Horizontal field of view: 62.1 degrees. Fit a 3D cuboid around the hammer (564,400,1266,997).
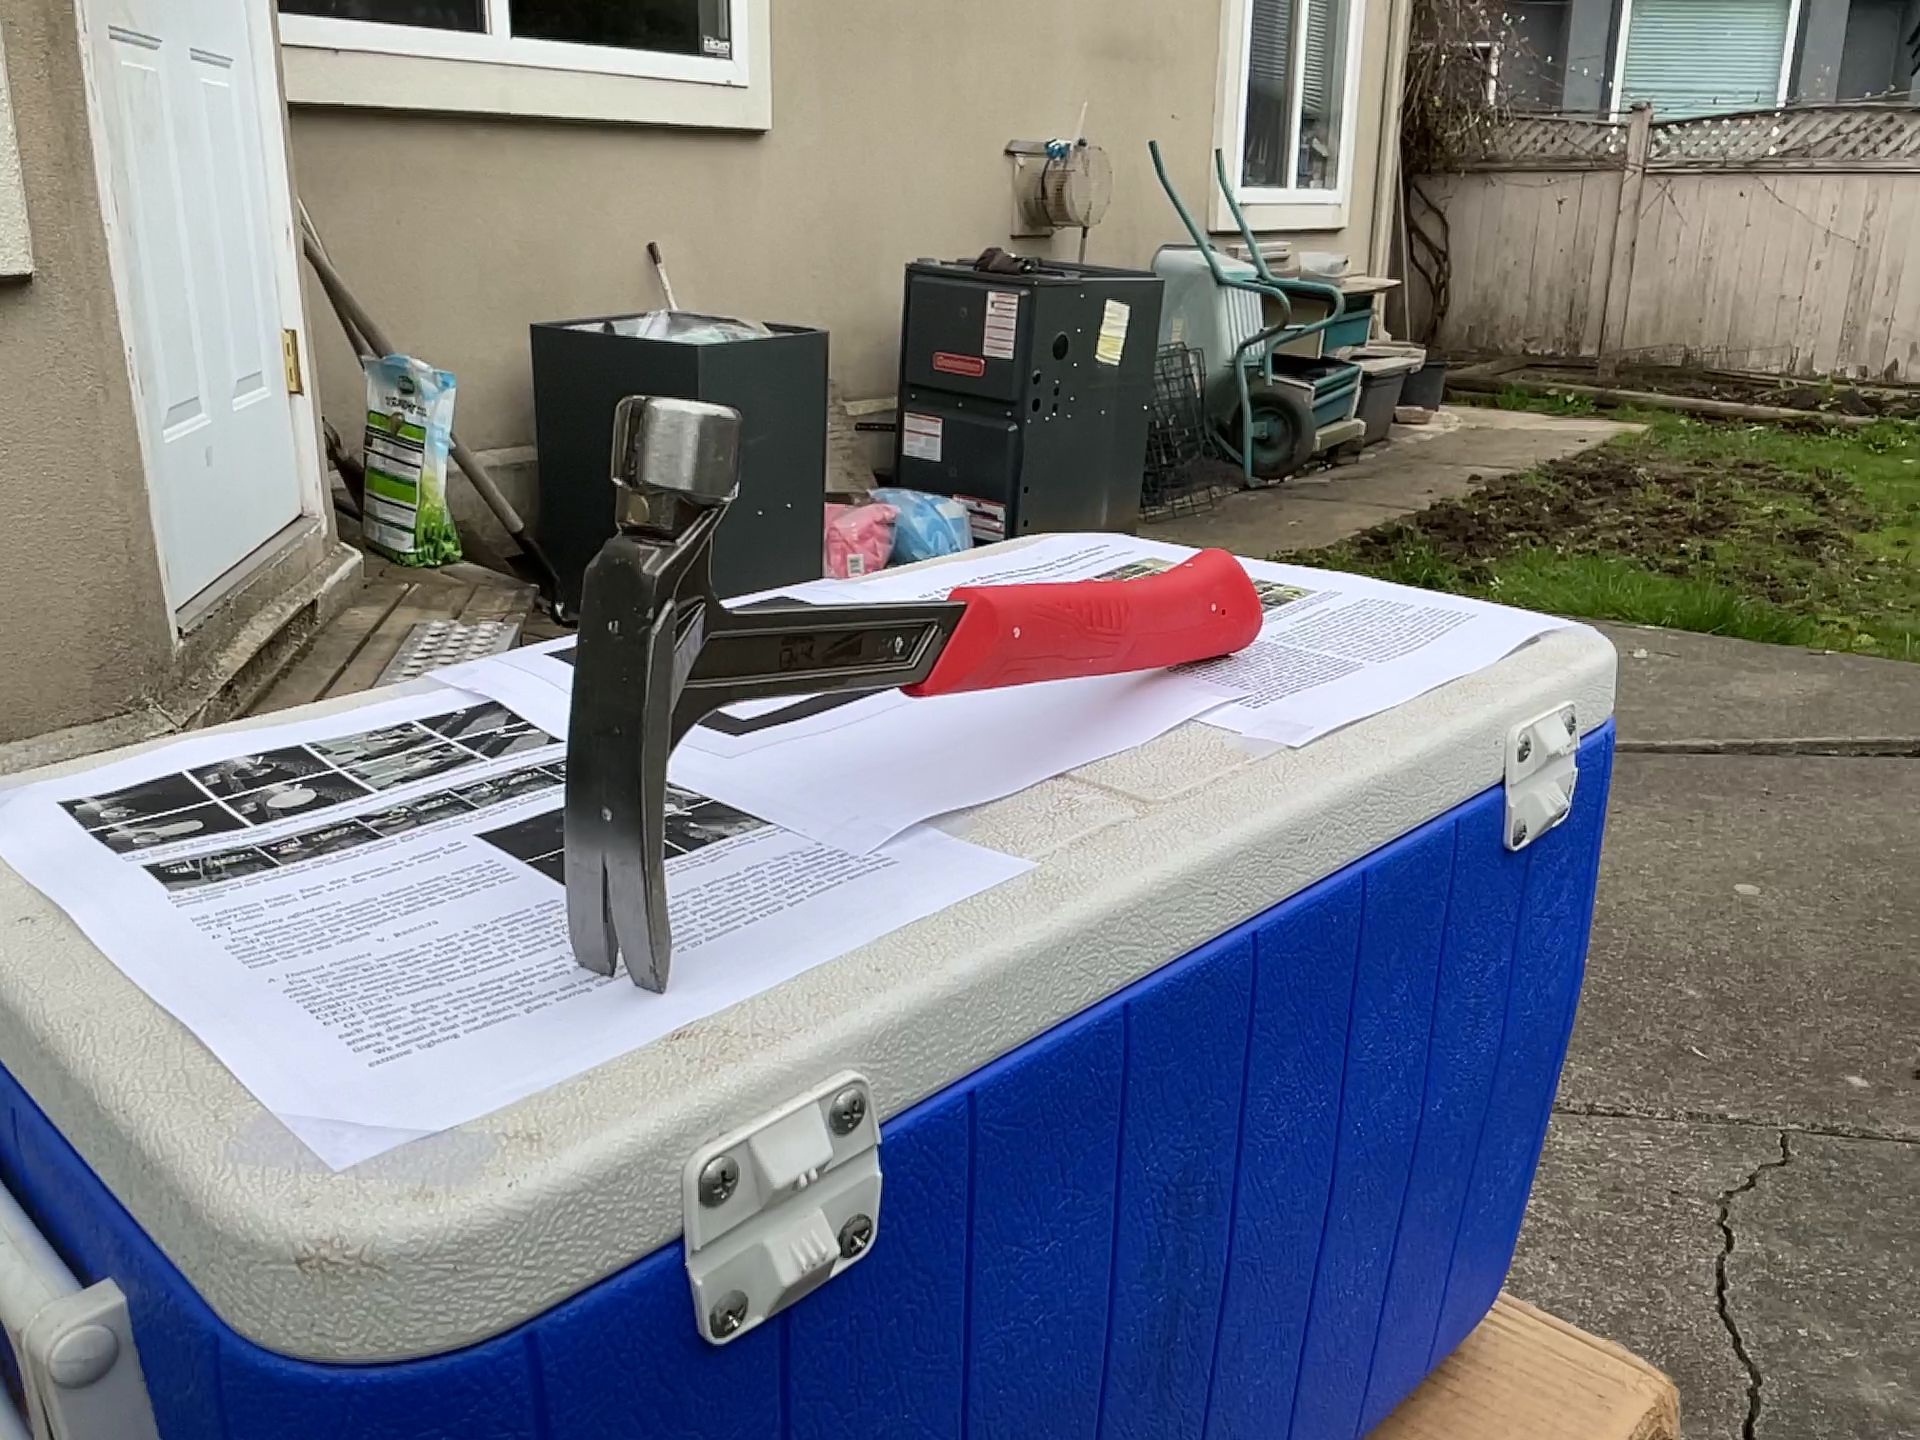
[{"bbox_3d":[0.013,-0.017,0.540,0.037,0.149,0.359,12,11,33],"label":"hammer"}]
